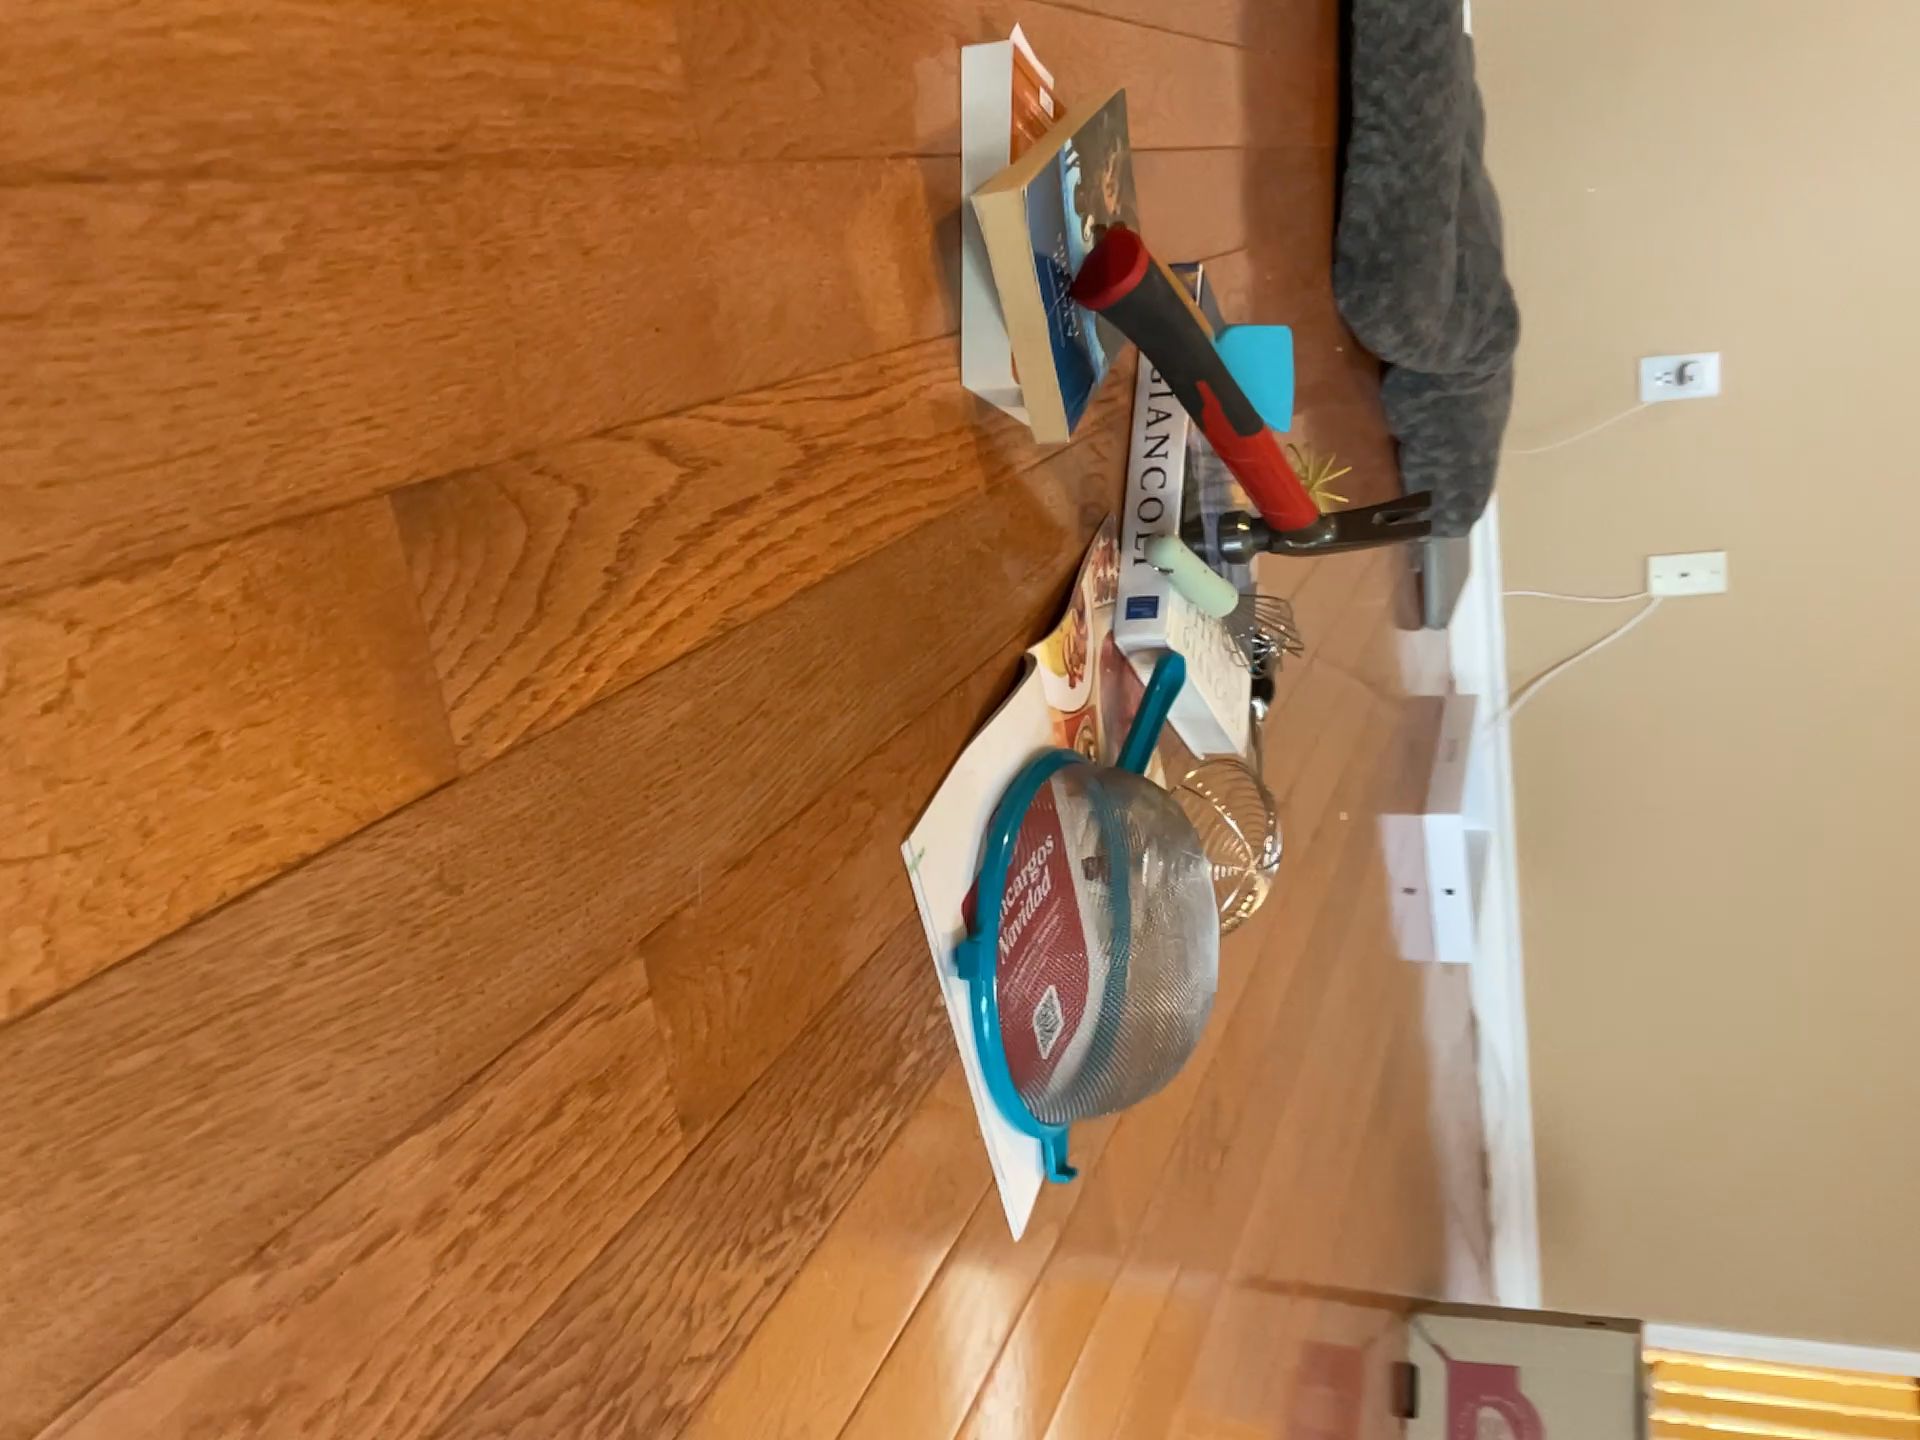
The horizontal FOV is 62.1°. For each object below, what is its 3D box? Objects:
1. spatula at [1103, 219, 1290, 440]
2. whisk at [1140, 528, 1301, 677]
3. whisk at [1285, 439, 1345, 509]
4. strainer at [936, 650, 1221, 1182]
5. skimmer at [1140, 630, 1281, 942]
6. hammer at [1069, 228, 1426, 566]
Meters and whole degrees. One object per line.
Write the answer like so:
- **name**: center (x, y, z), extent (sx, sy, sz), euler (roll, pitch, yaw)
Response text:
- **spatula**: center (0.154, -0.254, 1.009), extent (0.317, 0.044, 0.082), euler (12, 79, -66)
- **whisk**: center (0.172, -0.078, 1.049), extent (0.059, 0.058, 0.246), euler (-59, 149, 3)
- **whisk**: center (0.269, -0.192, 1.306), extent (0.312, 0.067, 0.080), euler (-54, 124, -76)
- **strainer**: center (0.108, 0.077, 0.887), extent (0.341, 0.095, 0.211), euler (-60, 142, -39)
- **skimmer**: center (0.190, 0.025, 1.189), extent (0.364, 0.090, 0.127), euler (-72, 150, -59)
- **hammer**: center (0.172, -0.180, 0.947), extent (0.386, 0.143, 0.038), euler (31, 57, -60)
